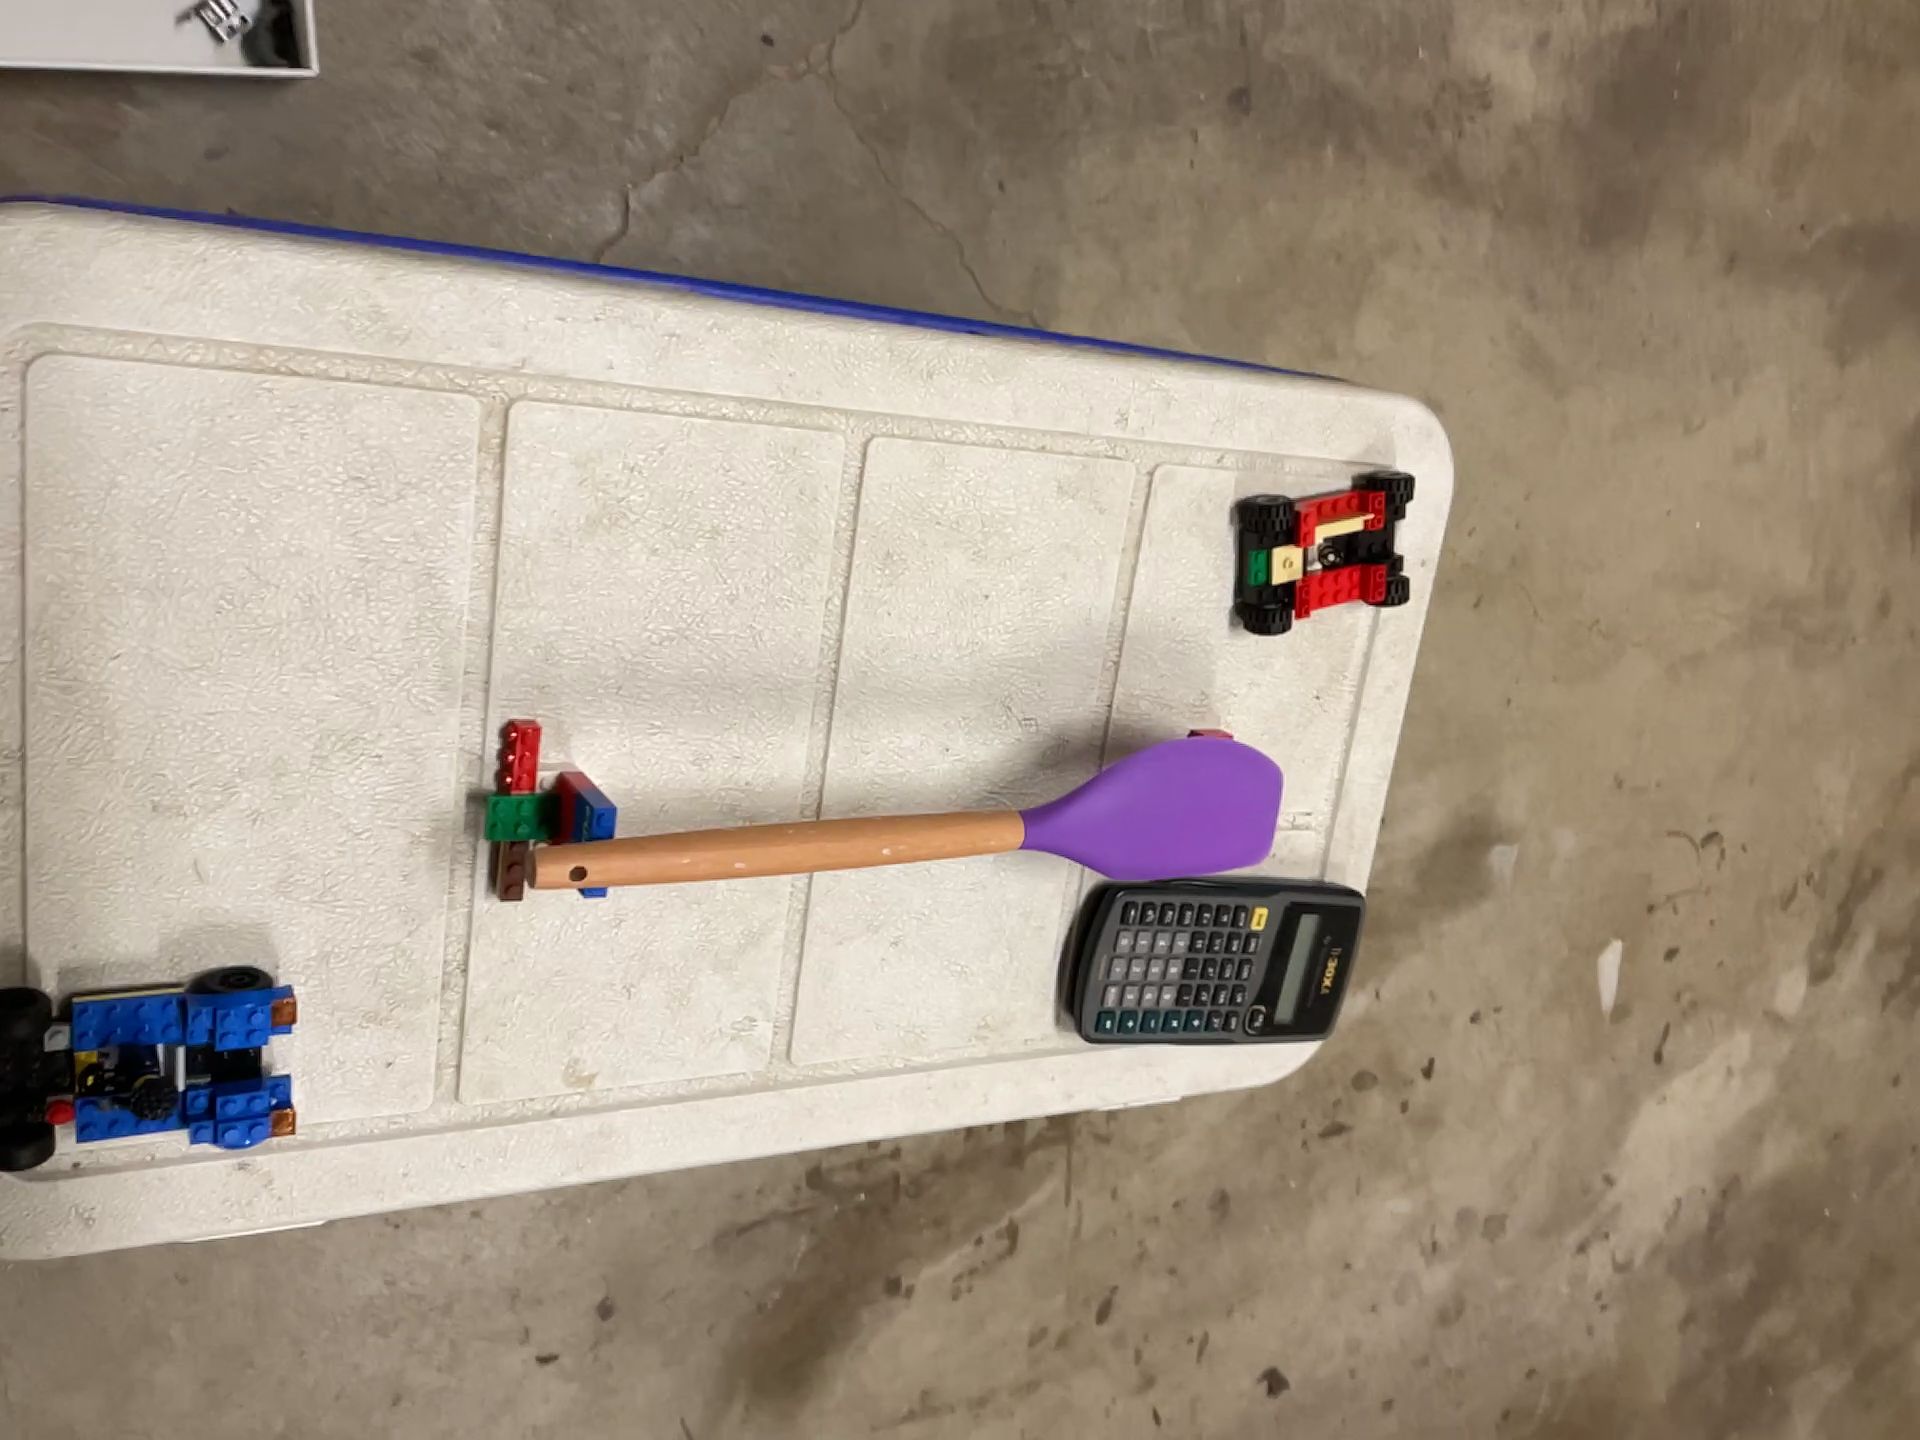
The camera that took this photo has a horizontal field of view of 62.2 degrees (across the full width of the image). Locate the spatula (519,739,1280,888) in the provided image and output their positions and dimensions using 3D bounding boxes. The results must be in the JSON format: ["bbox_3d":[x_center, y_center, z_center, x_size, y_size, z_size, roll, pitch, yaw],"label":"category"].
[{"bbox_3d":[-0.003,0.040,0.585,0.316,0.018,0.059,-2,108,-31],"label":"spatula"}]
